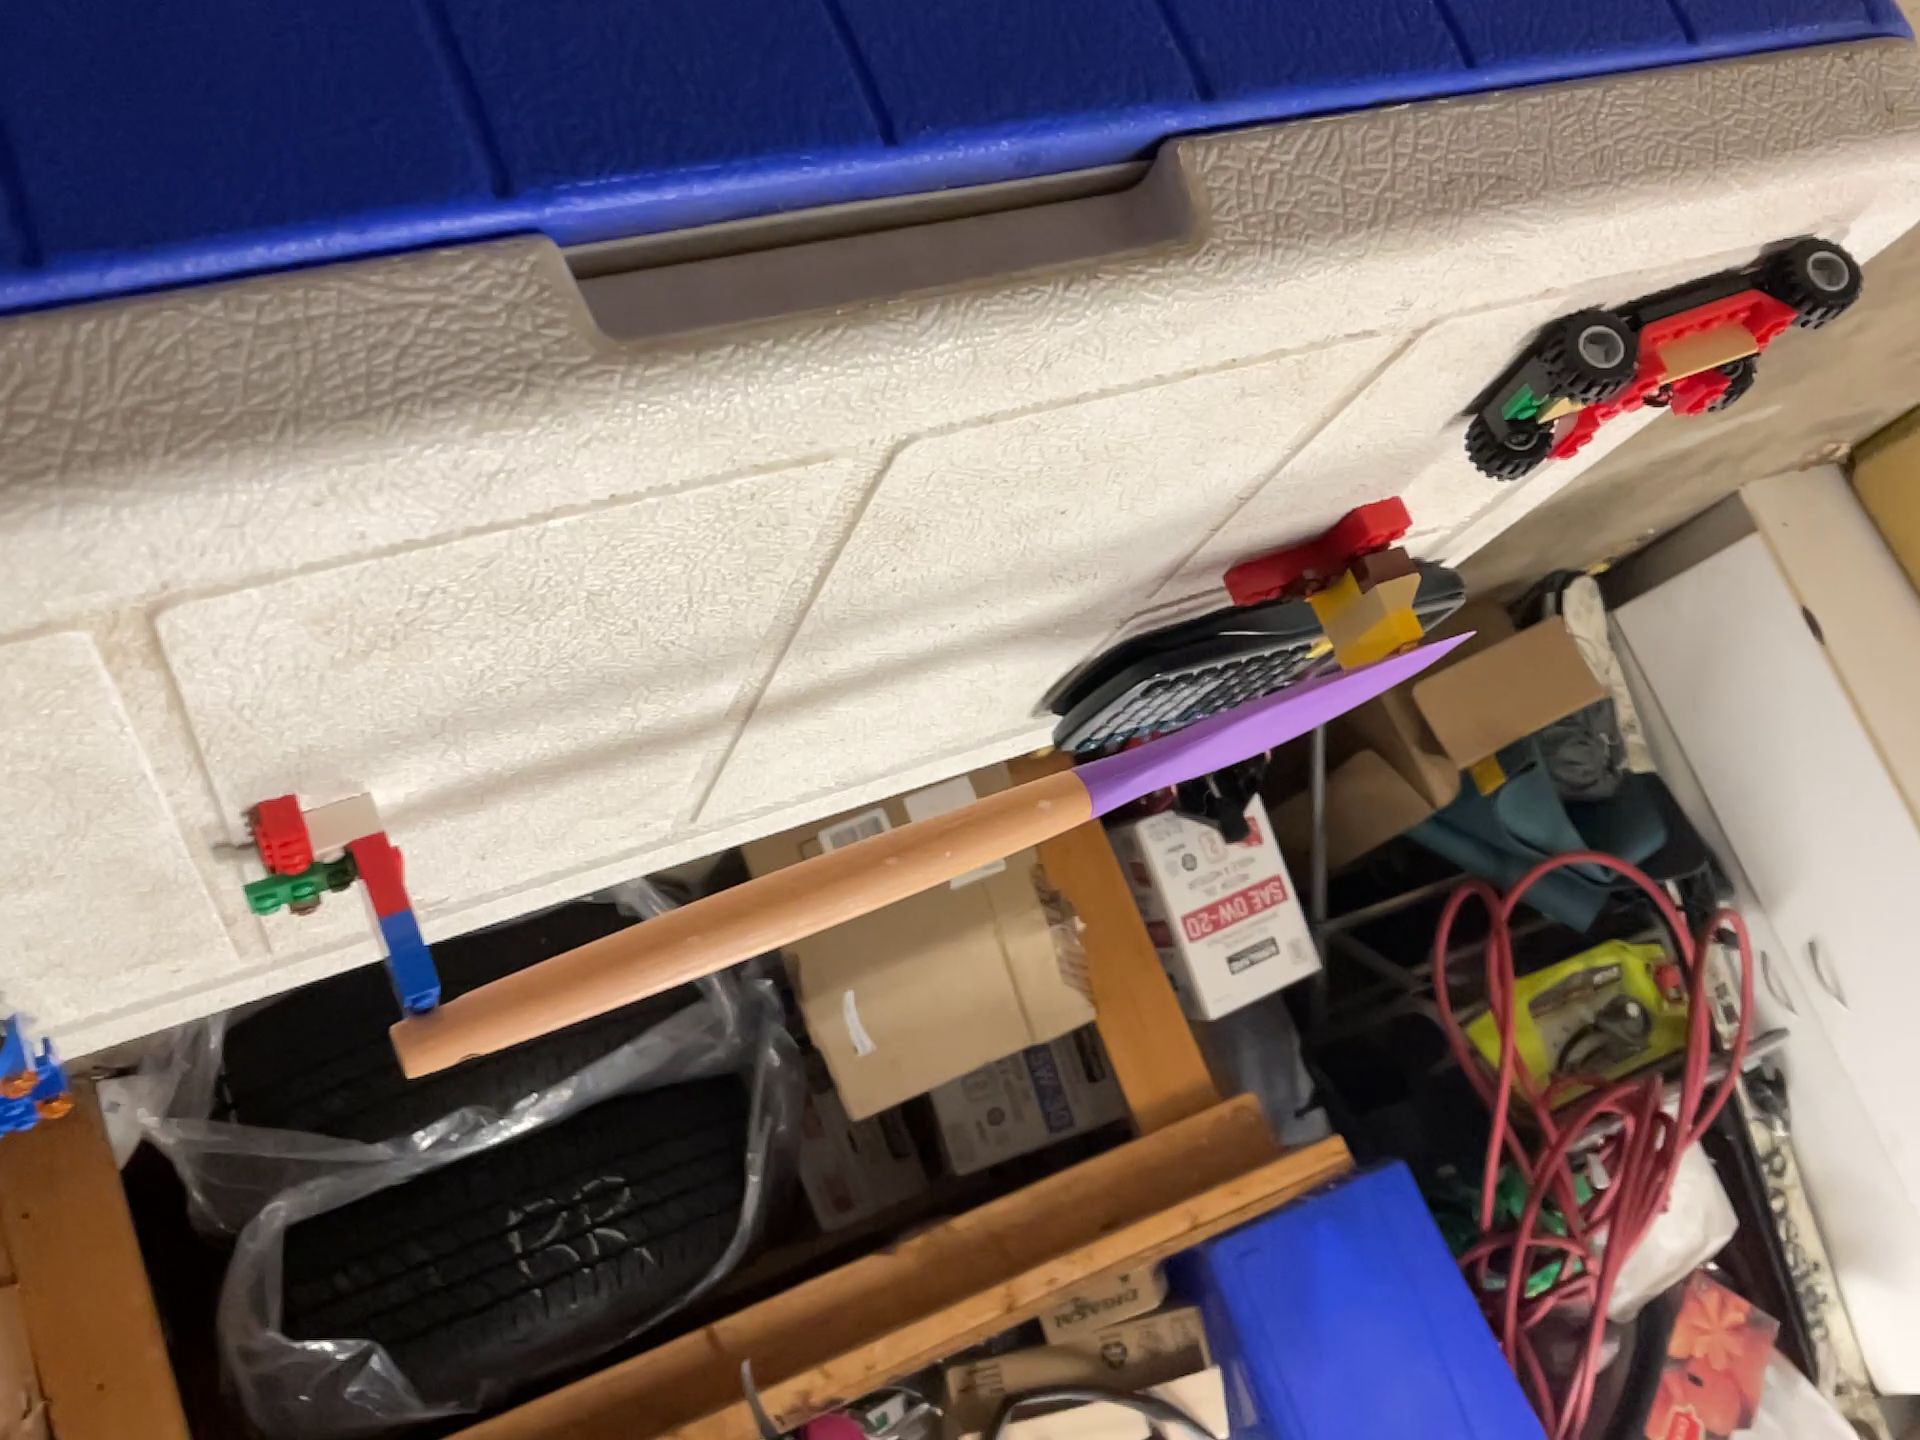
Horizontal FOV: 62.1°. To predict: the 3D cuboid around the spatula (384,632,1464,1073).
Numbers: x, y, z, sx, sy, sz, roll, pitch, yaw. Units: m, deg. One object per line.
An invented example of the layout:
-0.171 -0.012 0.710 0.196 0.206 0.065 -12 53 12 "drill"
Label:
0.007 0.029 0.429 0.316 0.018 0.059 -19 166 -24 "spatula"
